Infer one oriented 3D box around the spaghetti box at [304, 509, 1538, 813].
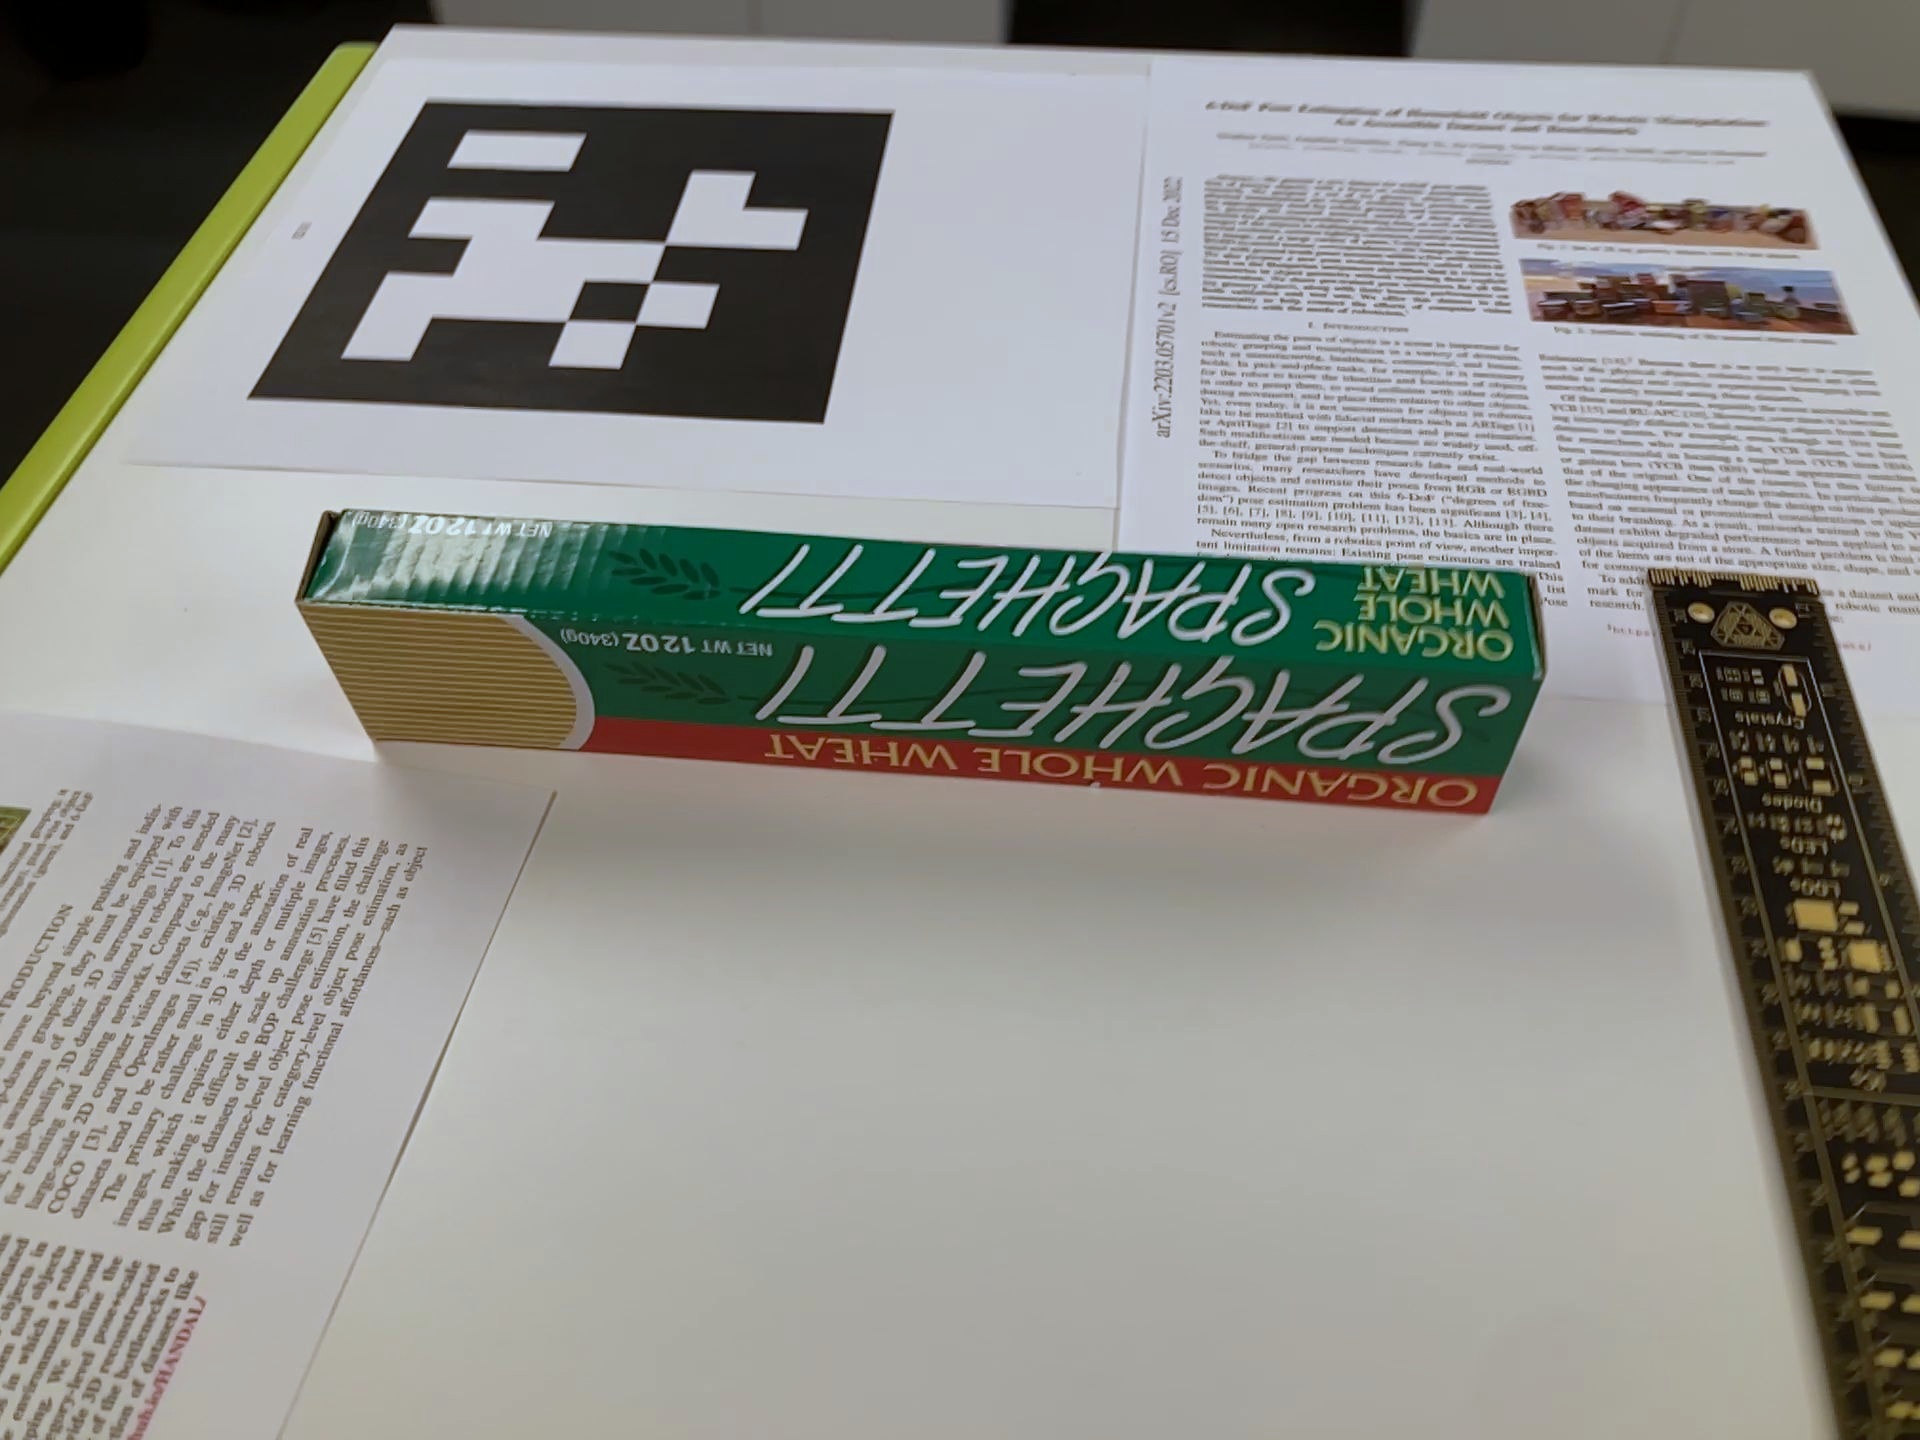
[{"bbox_3d":[-0.009,-0.013,0.339,0.250,0.050,0.028,4,54,5],"label":"spaghetti box"}]
